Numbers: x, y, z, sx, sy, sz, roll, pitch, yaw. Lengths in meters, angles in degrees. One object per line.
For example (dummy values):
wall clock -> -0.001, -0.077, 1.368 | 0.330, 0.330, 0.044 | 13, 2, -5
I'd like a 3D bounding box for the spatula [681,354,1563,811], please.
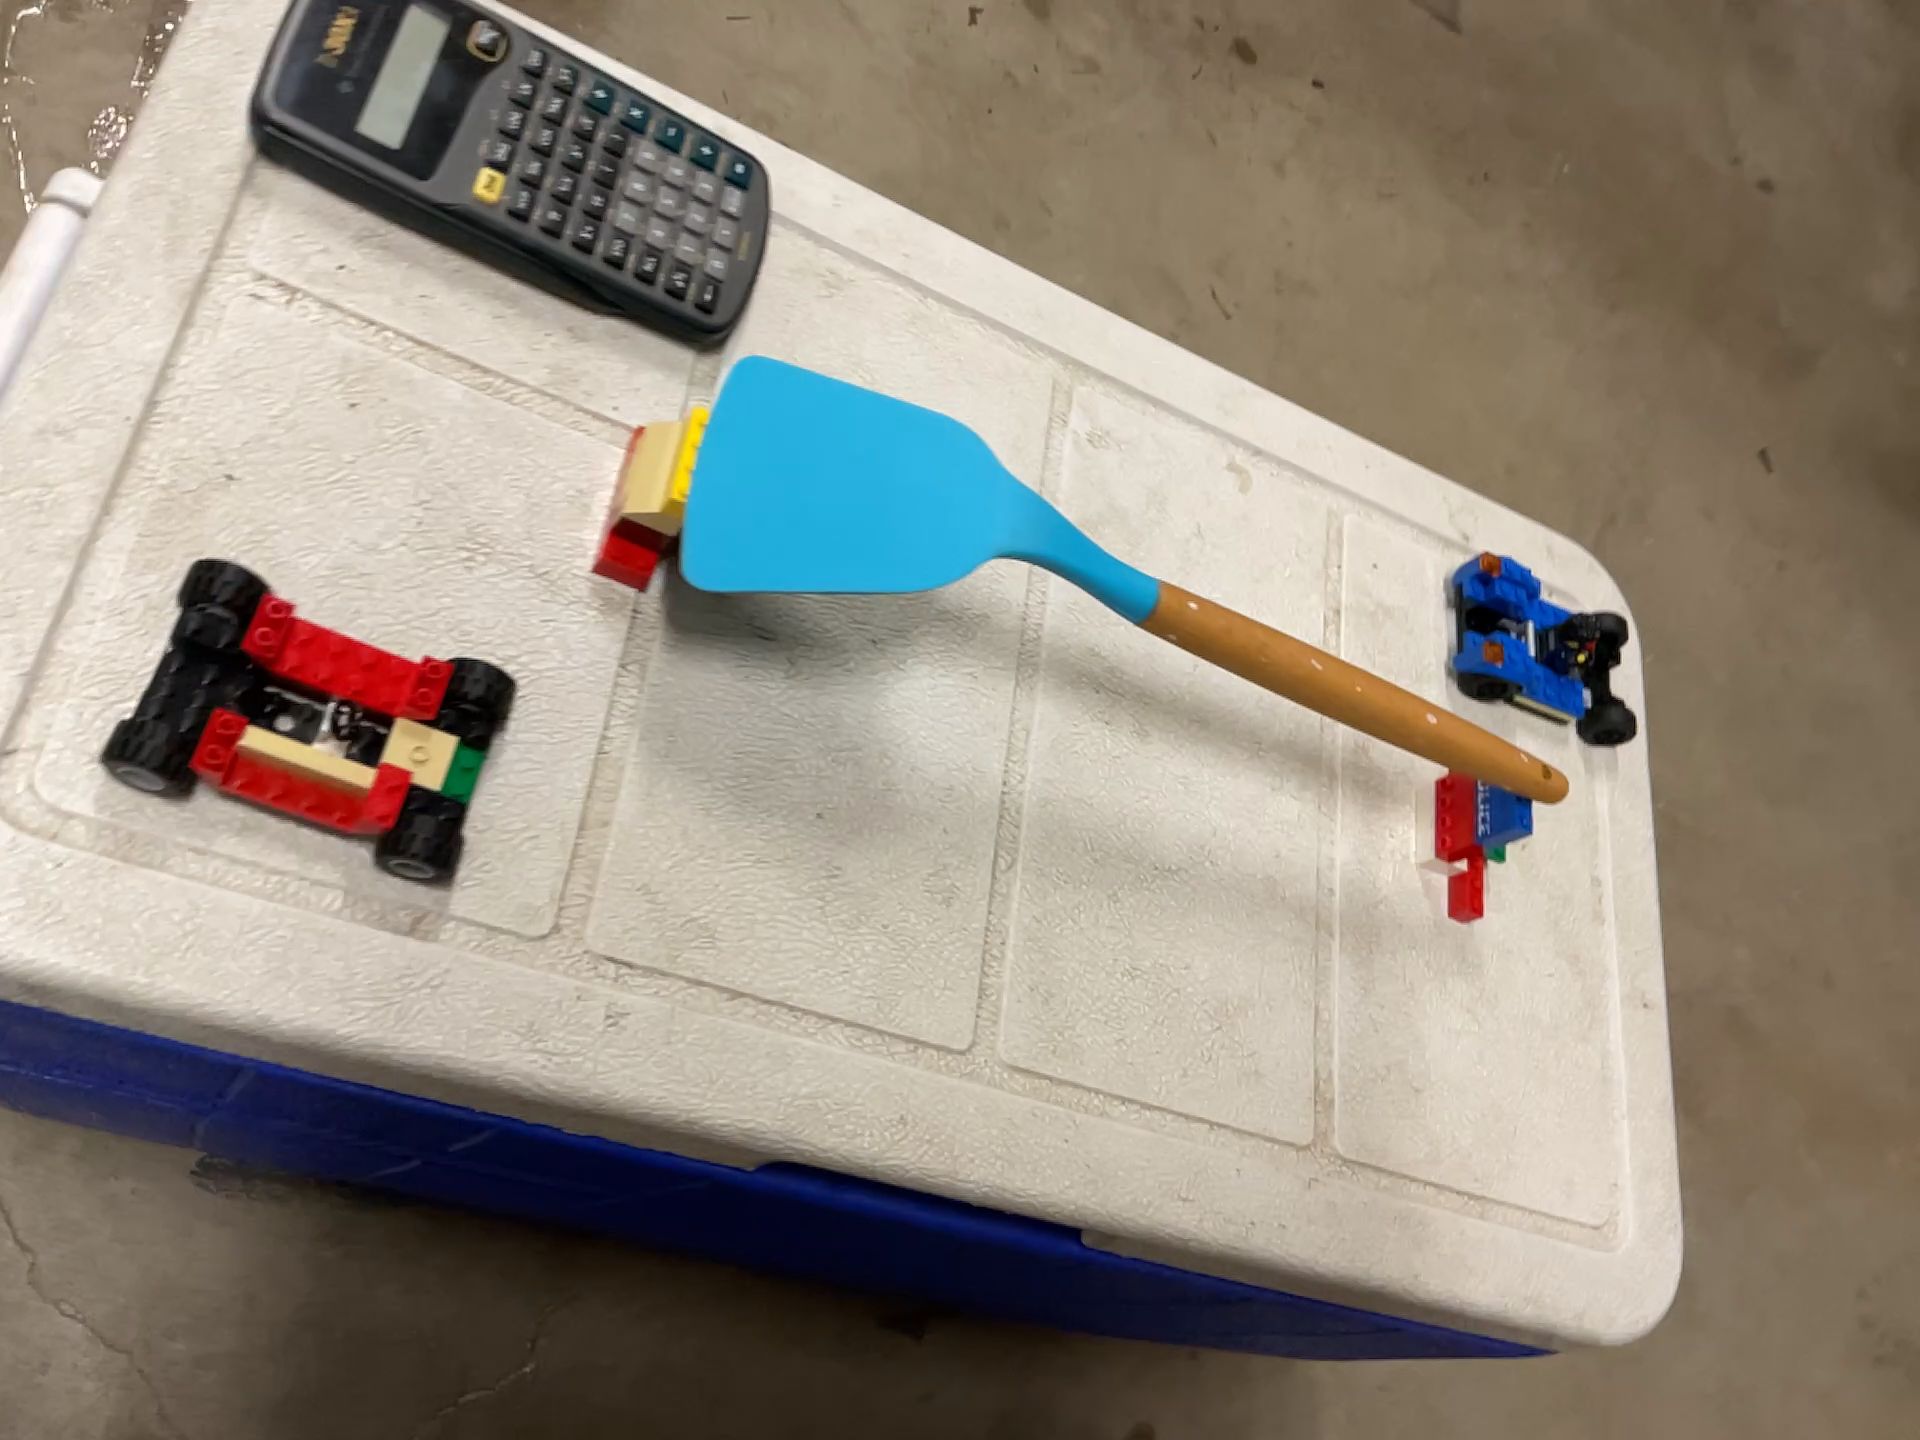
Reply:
spatula -> 0.070, -0.025, 0.498 | 0.318, 0.044, 0.082 | 22, 59, -26
